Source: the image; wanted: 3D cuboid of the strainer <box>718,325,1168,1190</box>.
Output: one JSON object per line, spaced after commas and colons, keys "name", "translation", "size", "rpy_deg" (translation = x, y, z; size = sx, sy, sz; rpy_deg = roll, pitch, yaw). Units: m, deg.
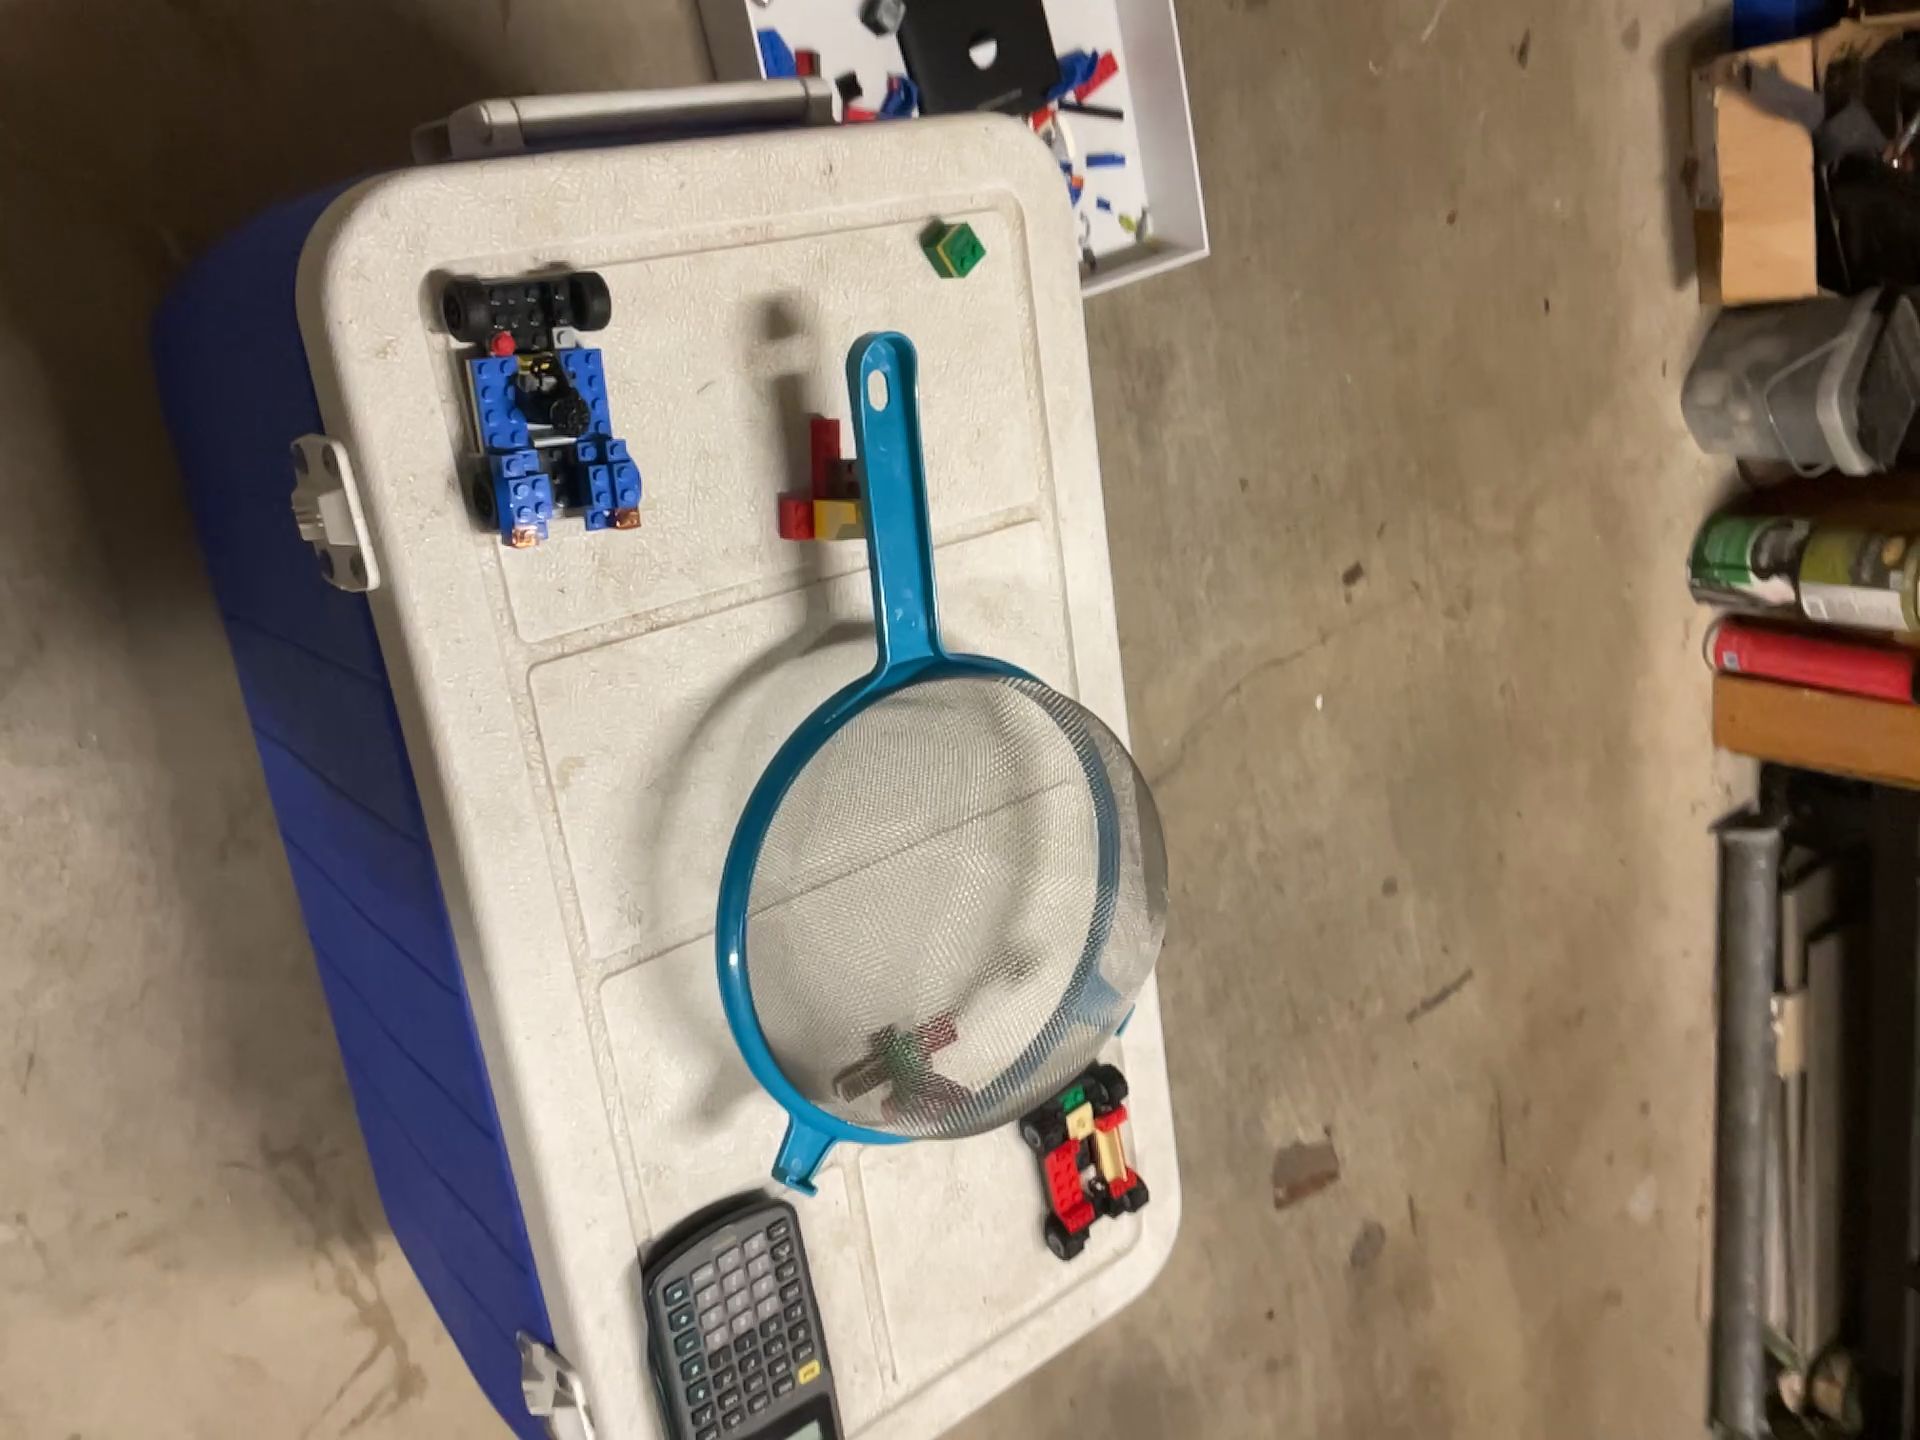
{"name": "strainer", "translation": [0.009, 0.019, 0.624], "size": [0.211, 0.095, 0.340], "rpy_deg": [-18, 111, -35]}
